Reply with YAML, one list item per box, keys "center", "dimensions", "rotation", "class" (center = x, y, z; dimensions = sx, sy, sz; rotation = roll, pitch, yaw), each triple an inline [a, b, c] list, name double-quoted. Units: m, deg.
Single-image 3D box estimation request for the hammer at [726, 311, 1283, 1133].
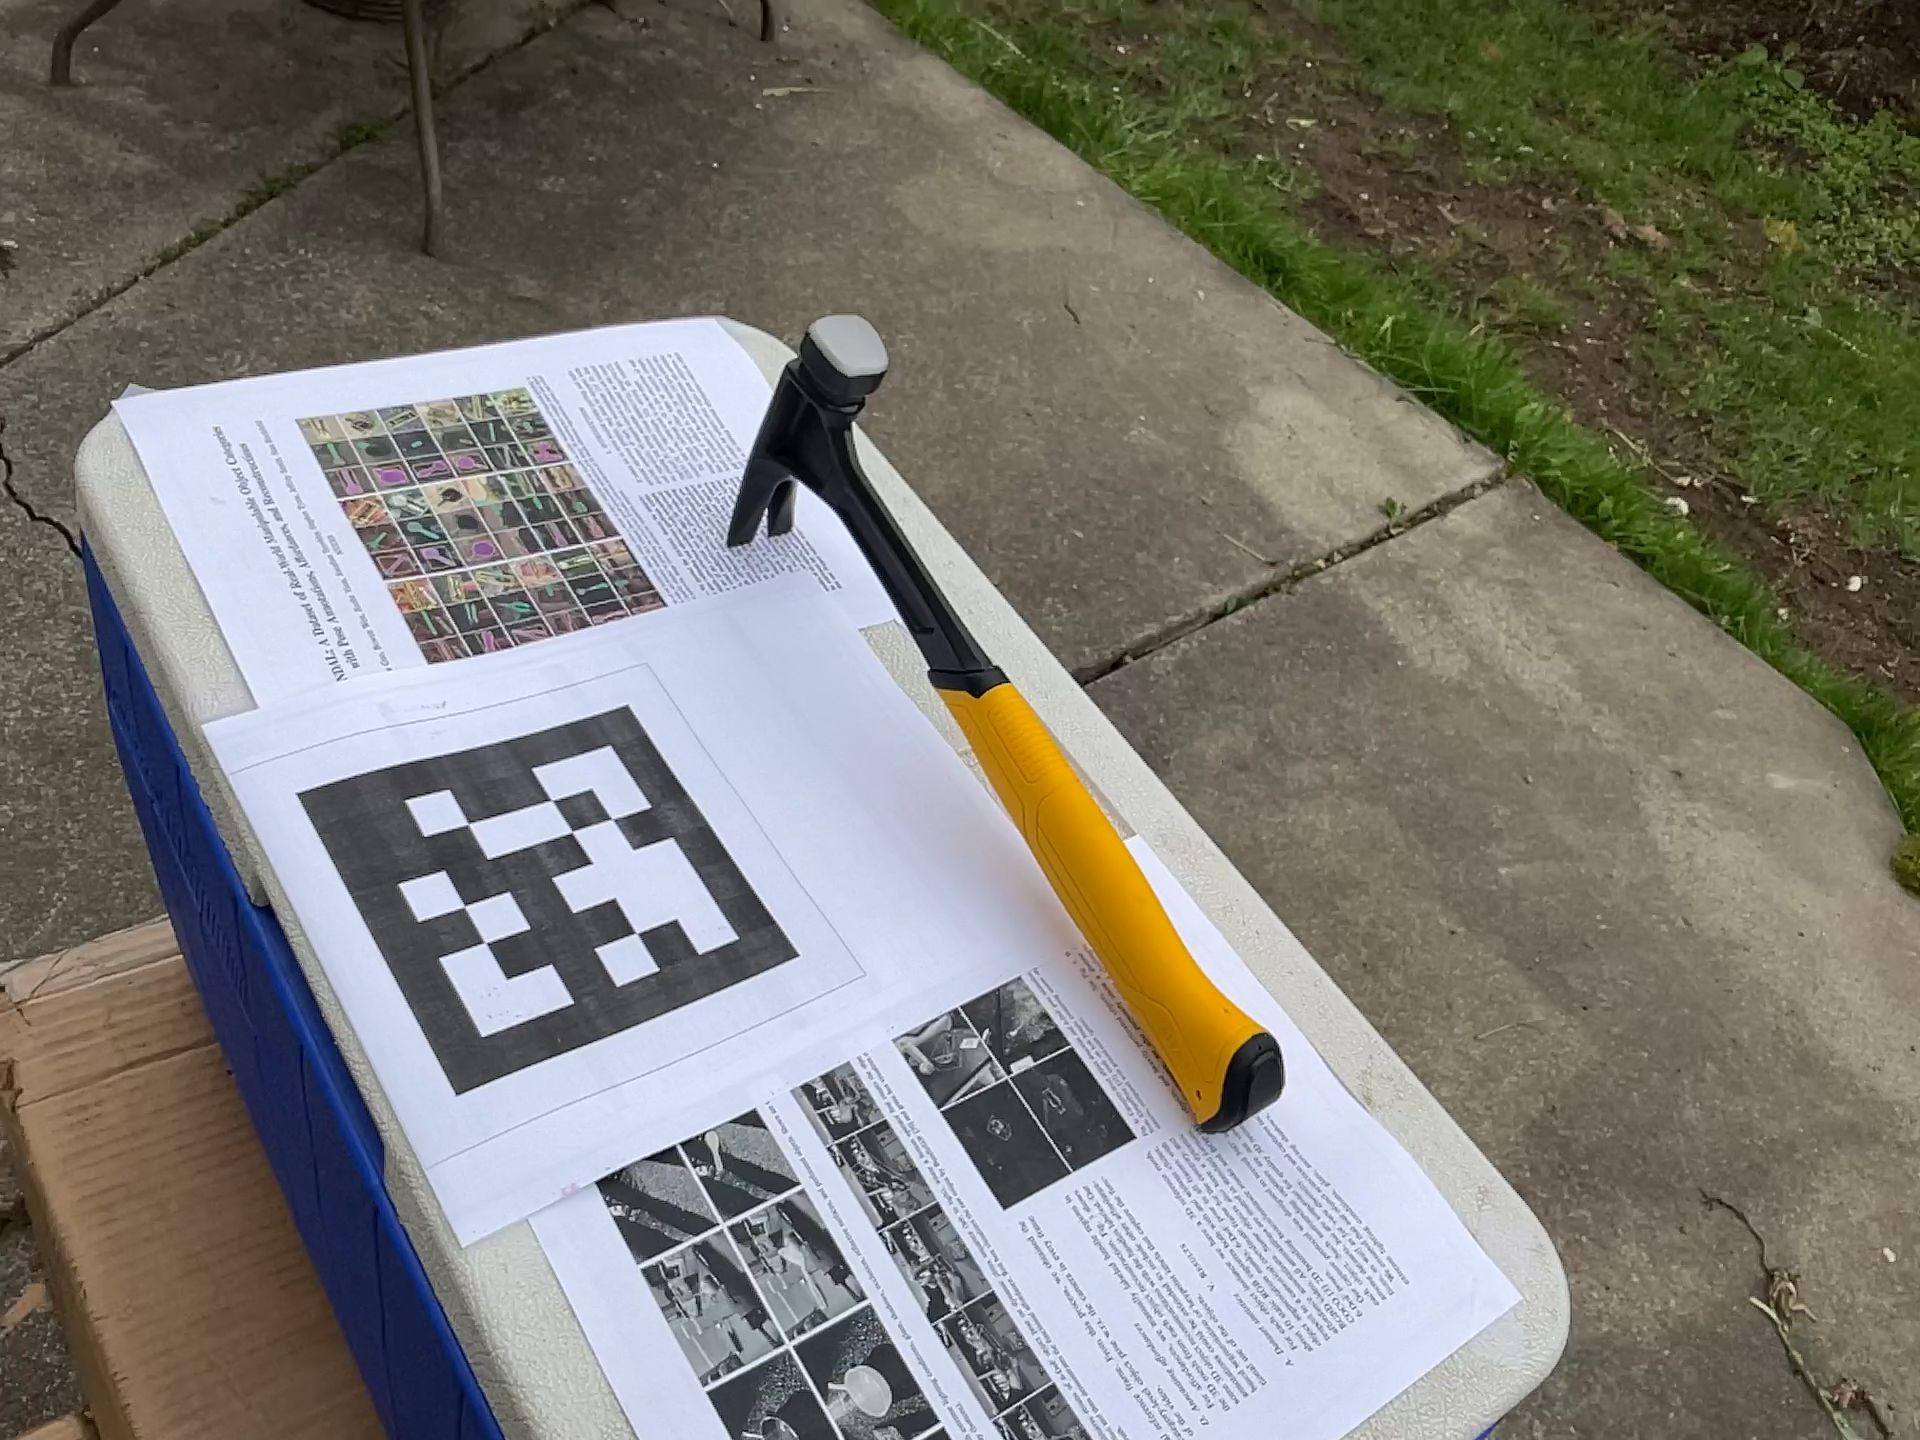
- center: [0.011, 0.007, 0.614]
  dimensions: [0.034, 0.127, 0.337]
  rotation: [-19, 67, -34]
  class: "hammer"
